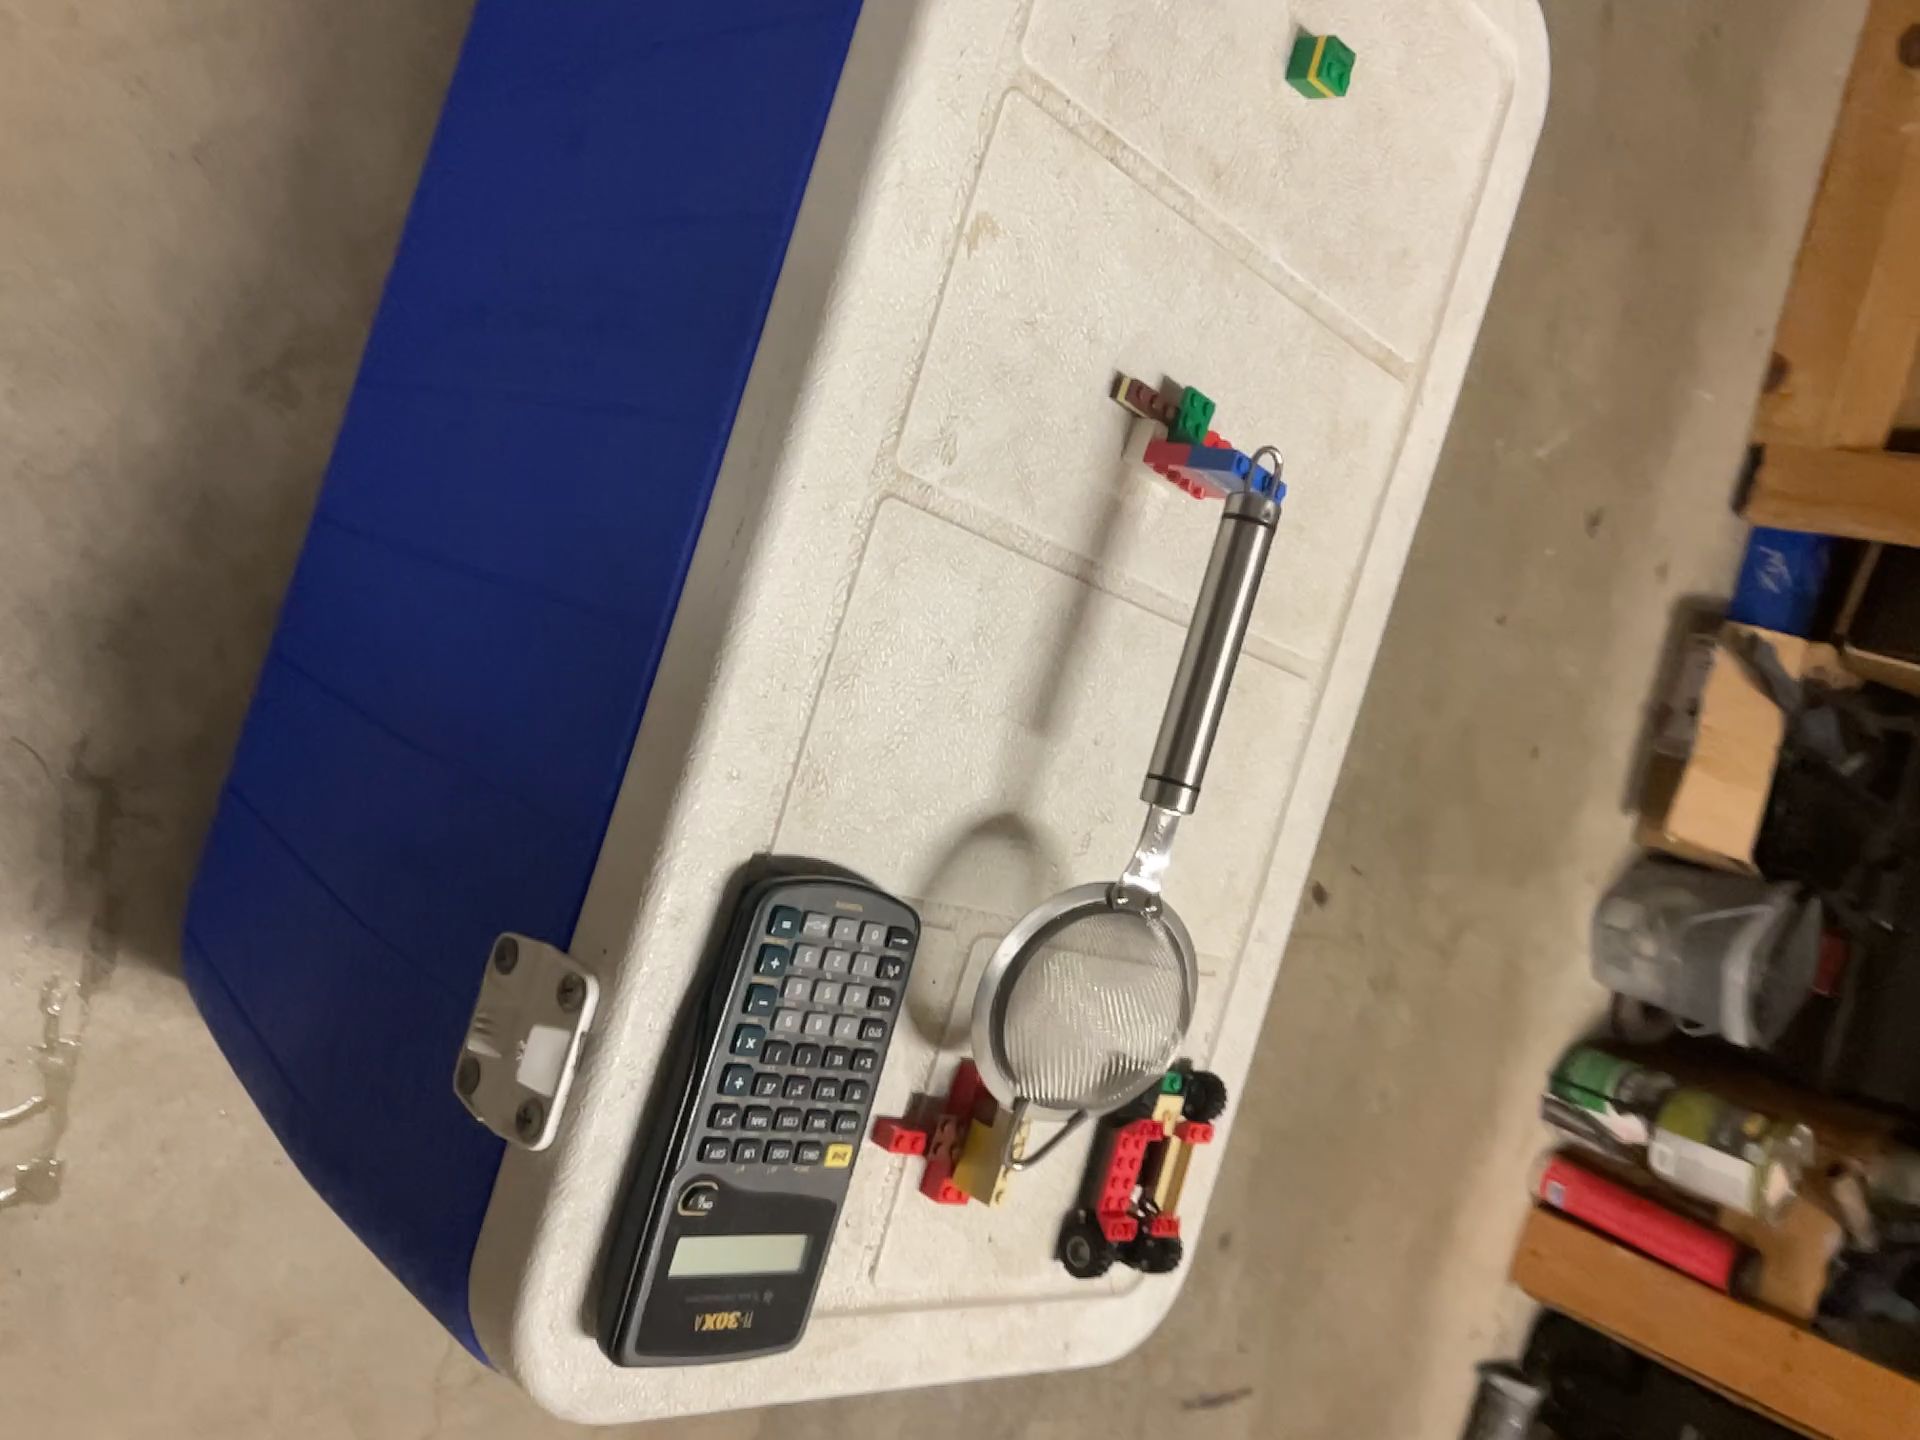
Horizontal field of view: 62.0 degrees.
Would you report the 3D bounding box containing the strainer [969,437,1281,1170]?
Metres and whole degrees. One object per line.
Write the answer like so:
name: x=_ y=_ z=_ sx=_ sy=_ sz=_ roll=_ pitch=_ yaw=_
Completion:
strainer: x=0.066 y=0.029 z=0.523 sx=0.086 sy=0.050 sz=0.258 roll=18 pitch=87 yaw=-29
